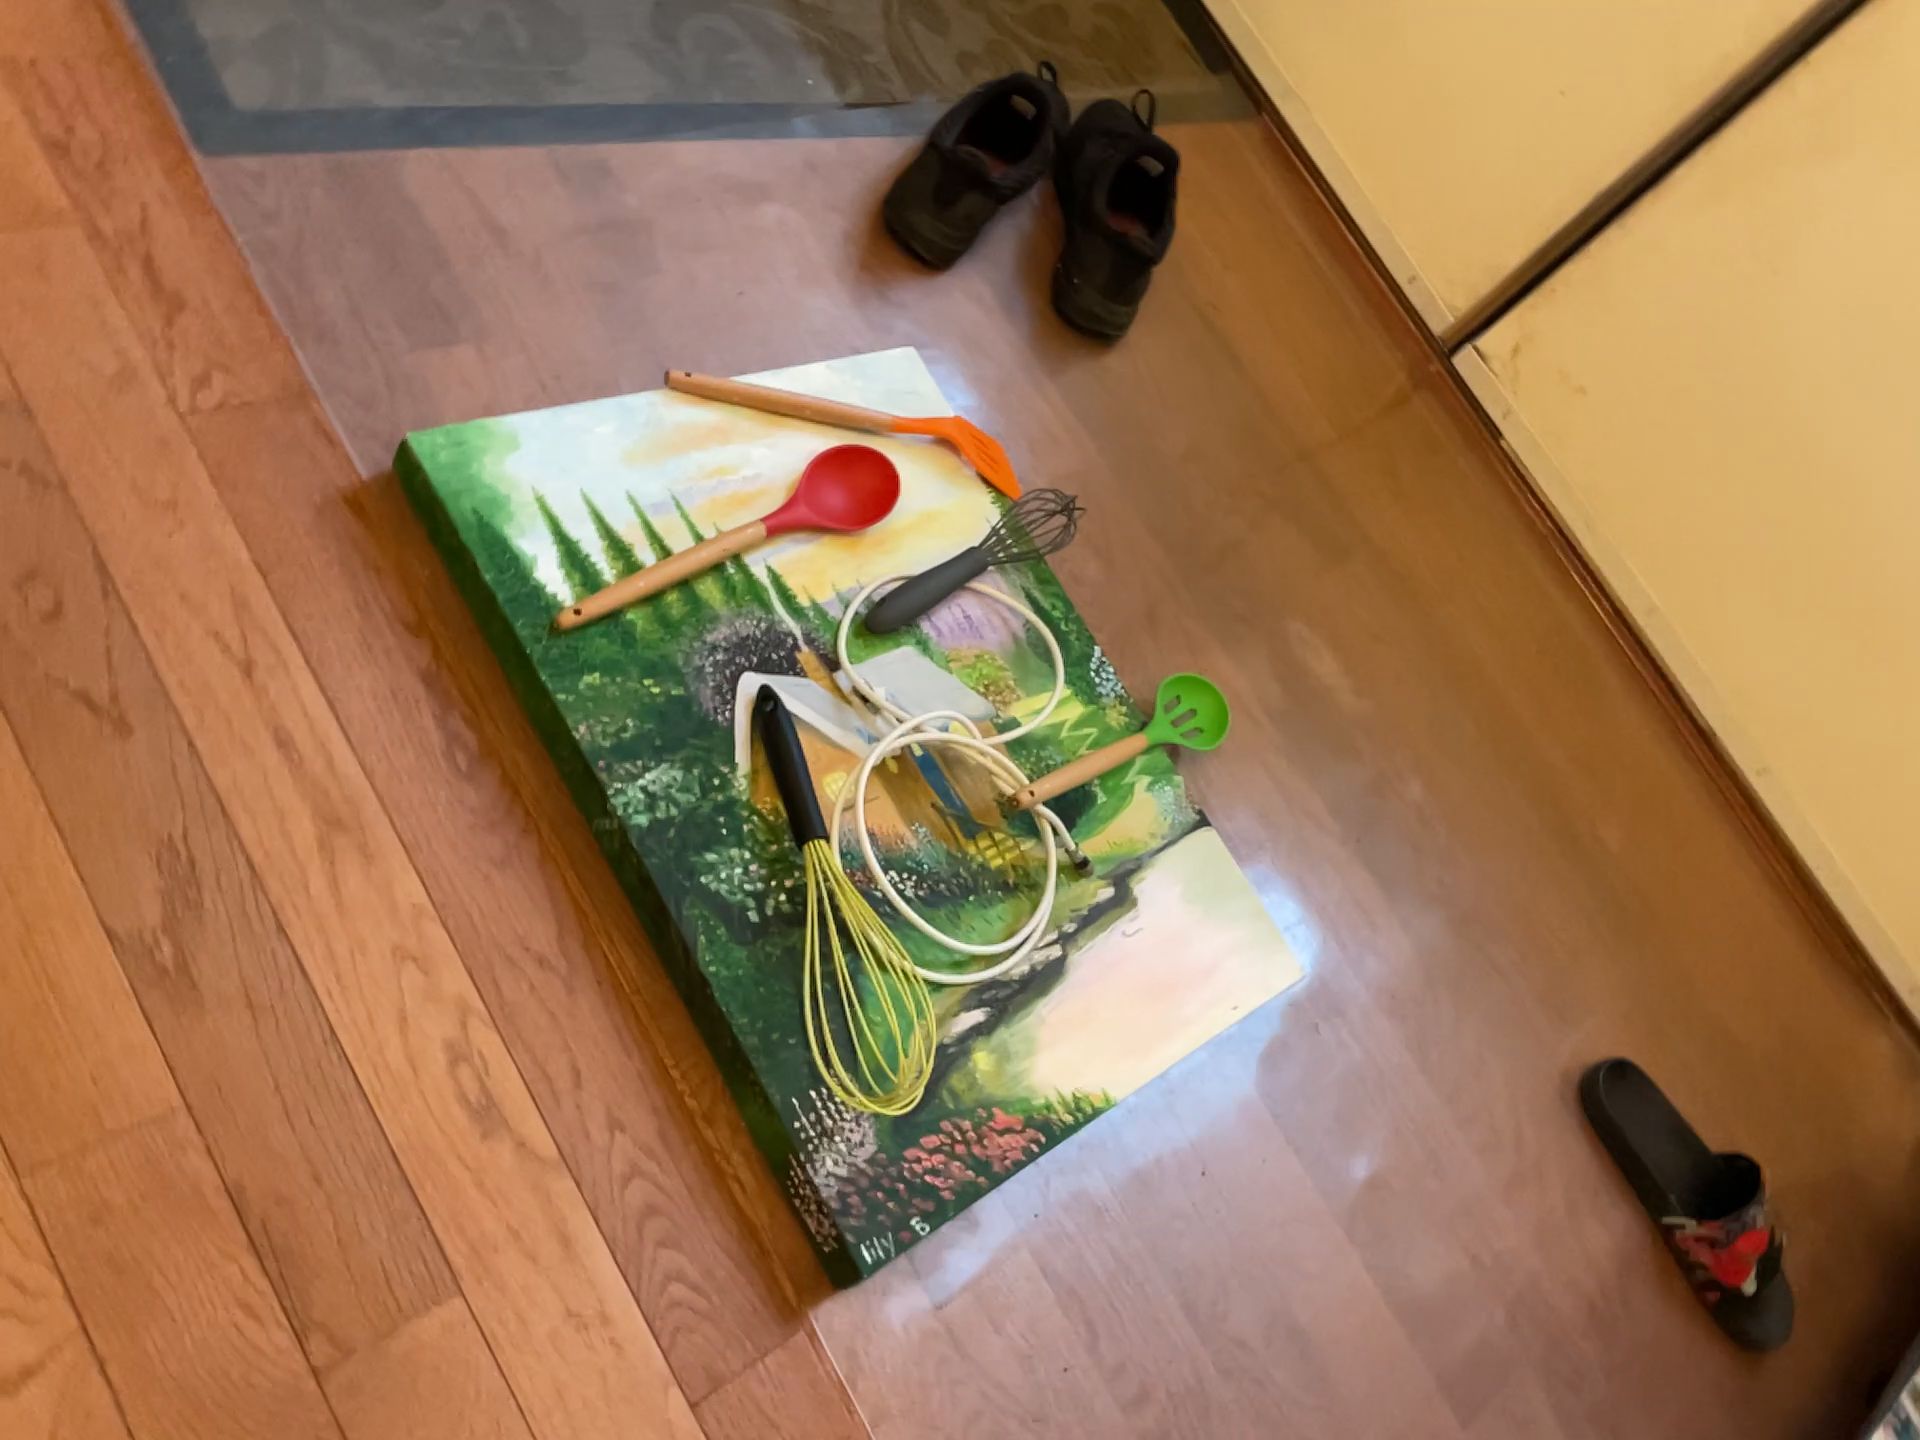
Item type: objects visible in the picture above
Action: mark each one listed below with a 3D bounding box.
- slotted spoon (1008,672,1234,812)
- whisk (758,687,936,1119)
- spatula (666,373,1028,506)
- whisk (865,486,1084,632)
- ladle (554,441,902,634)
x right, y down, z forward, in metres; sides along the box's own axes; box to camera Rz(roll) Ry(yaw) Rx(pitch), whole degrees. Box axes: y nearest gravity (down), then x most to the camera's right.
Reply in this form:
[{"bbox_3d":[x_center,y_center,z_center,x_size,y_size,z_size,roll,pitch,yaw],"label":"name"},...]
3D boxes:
[{"bbox_3d":[0.126,0.021,1.226,0.313,0.031,0.070,-22,77,-52],"label":"slotted spoon"},{"bbox_3d":[-0.086,0.110,1.027,0.080,0.067,0.312,2,56,-39],"label":"whisk"},{"bbox_3d":[-0.081,-0.233,1.265,0.322,0.041,0.081,6,49,-29],"label":"spatula"},{"bbox_3d":[0.014,-0.124,1.237,0.239,0.055,0.055,-34,74,-35],"label":"whisk"},{"bbox_3d":[-0.160,-0.128,1.137,0.315,0.031,0.069,-33,83,-39],"label":"ladle"}]
